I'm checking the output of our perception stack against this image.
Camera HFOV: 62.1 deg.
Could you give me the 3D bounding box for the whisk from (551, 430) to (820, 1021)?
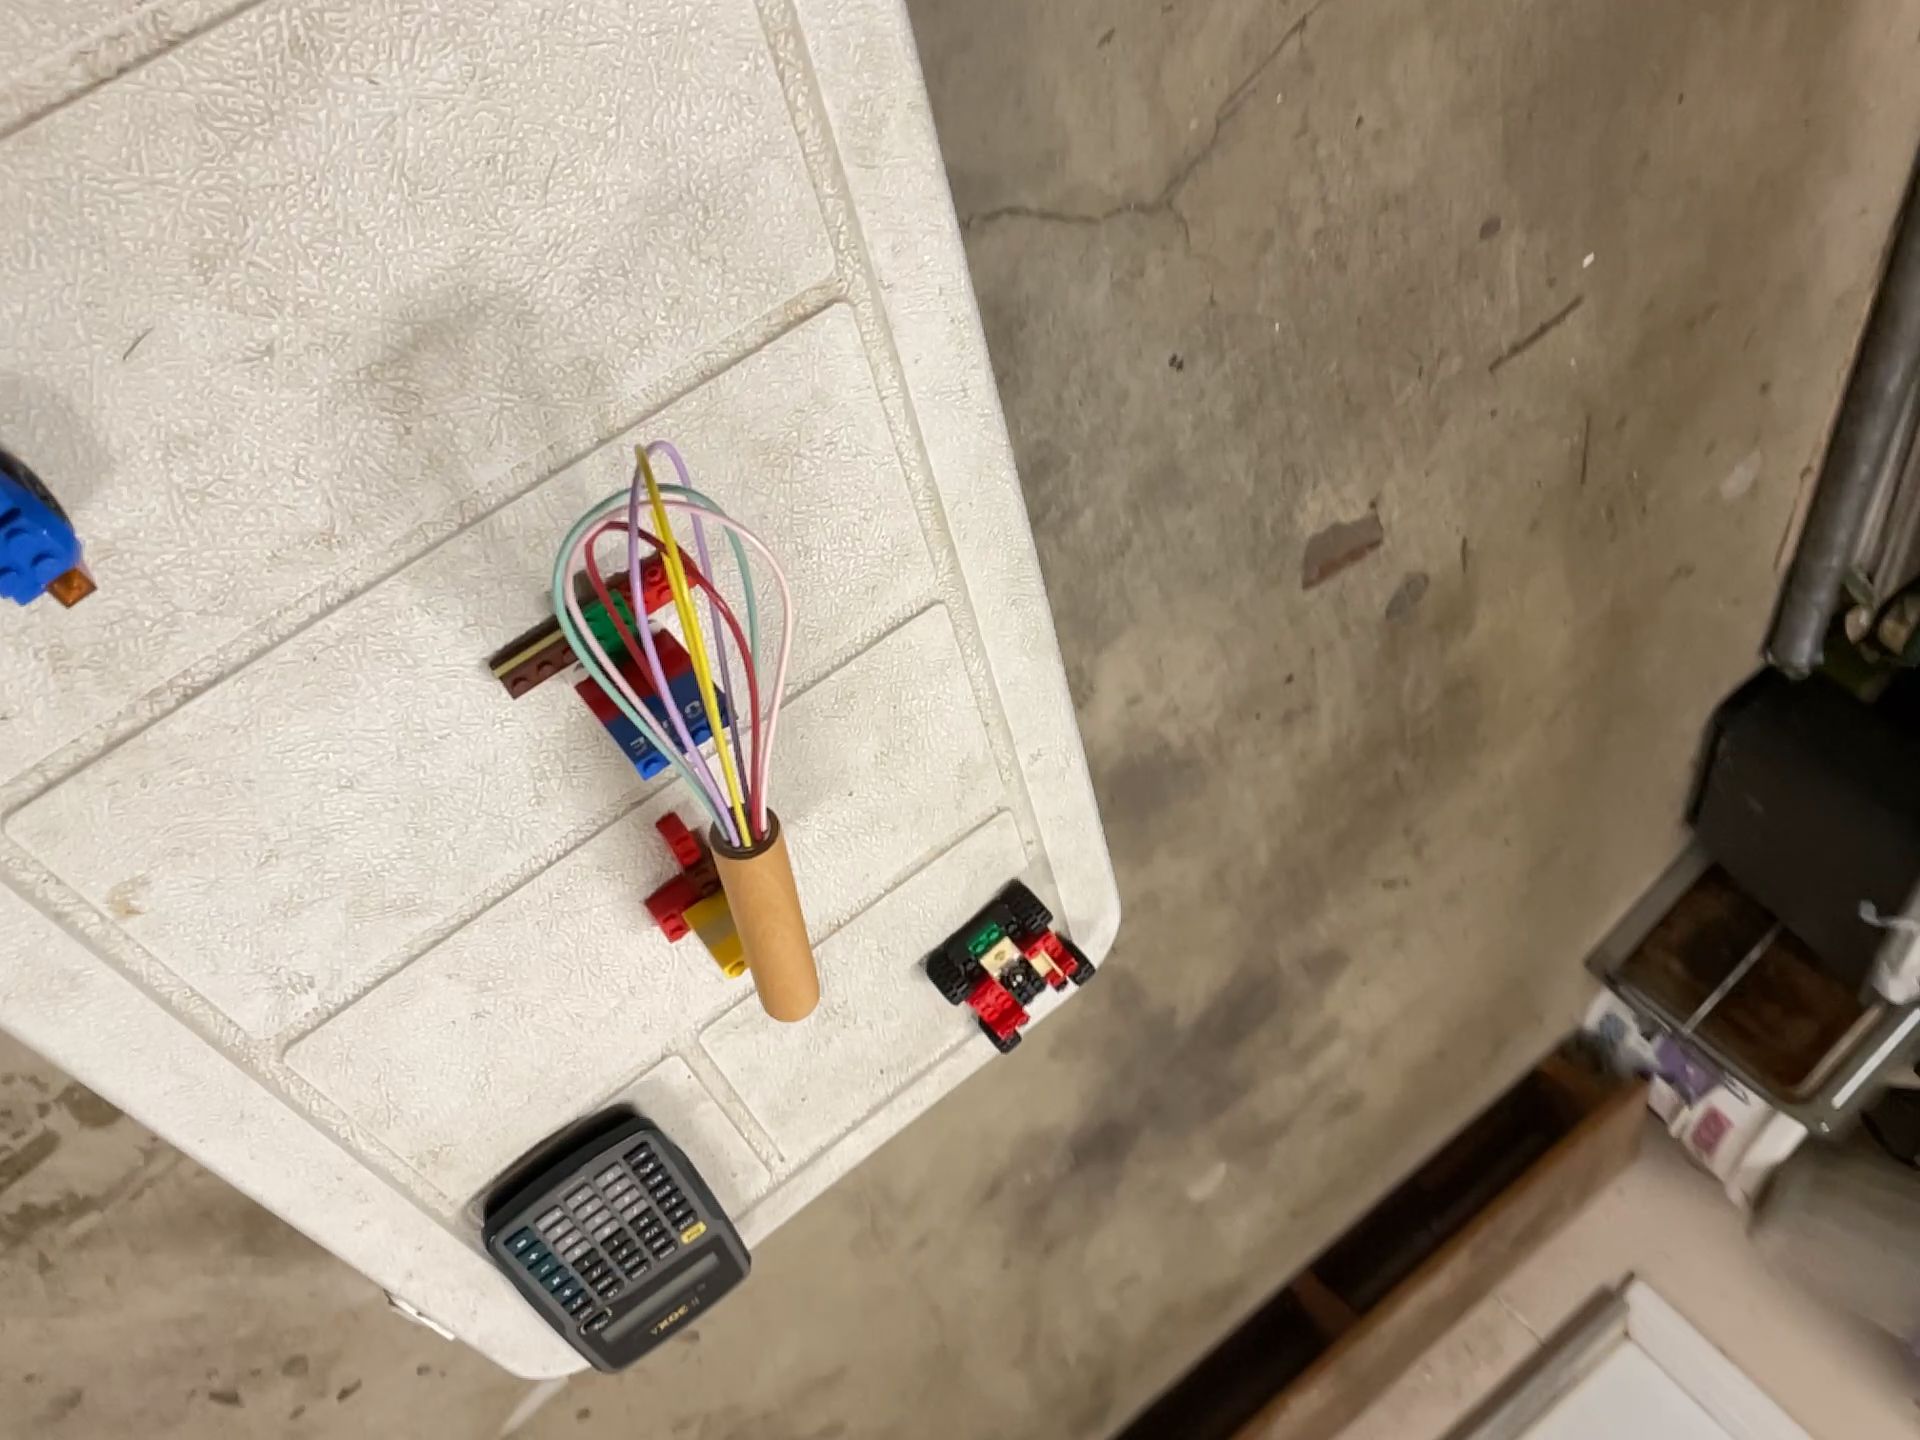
[{"bbox_3d":[-0.064,0.021,0.444,0.051,0.047,0.244,-42,150,-26],"label":"whisk"}]
